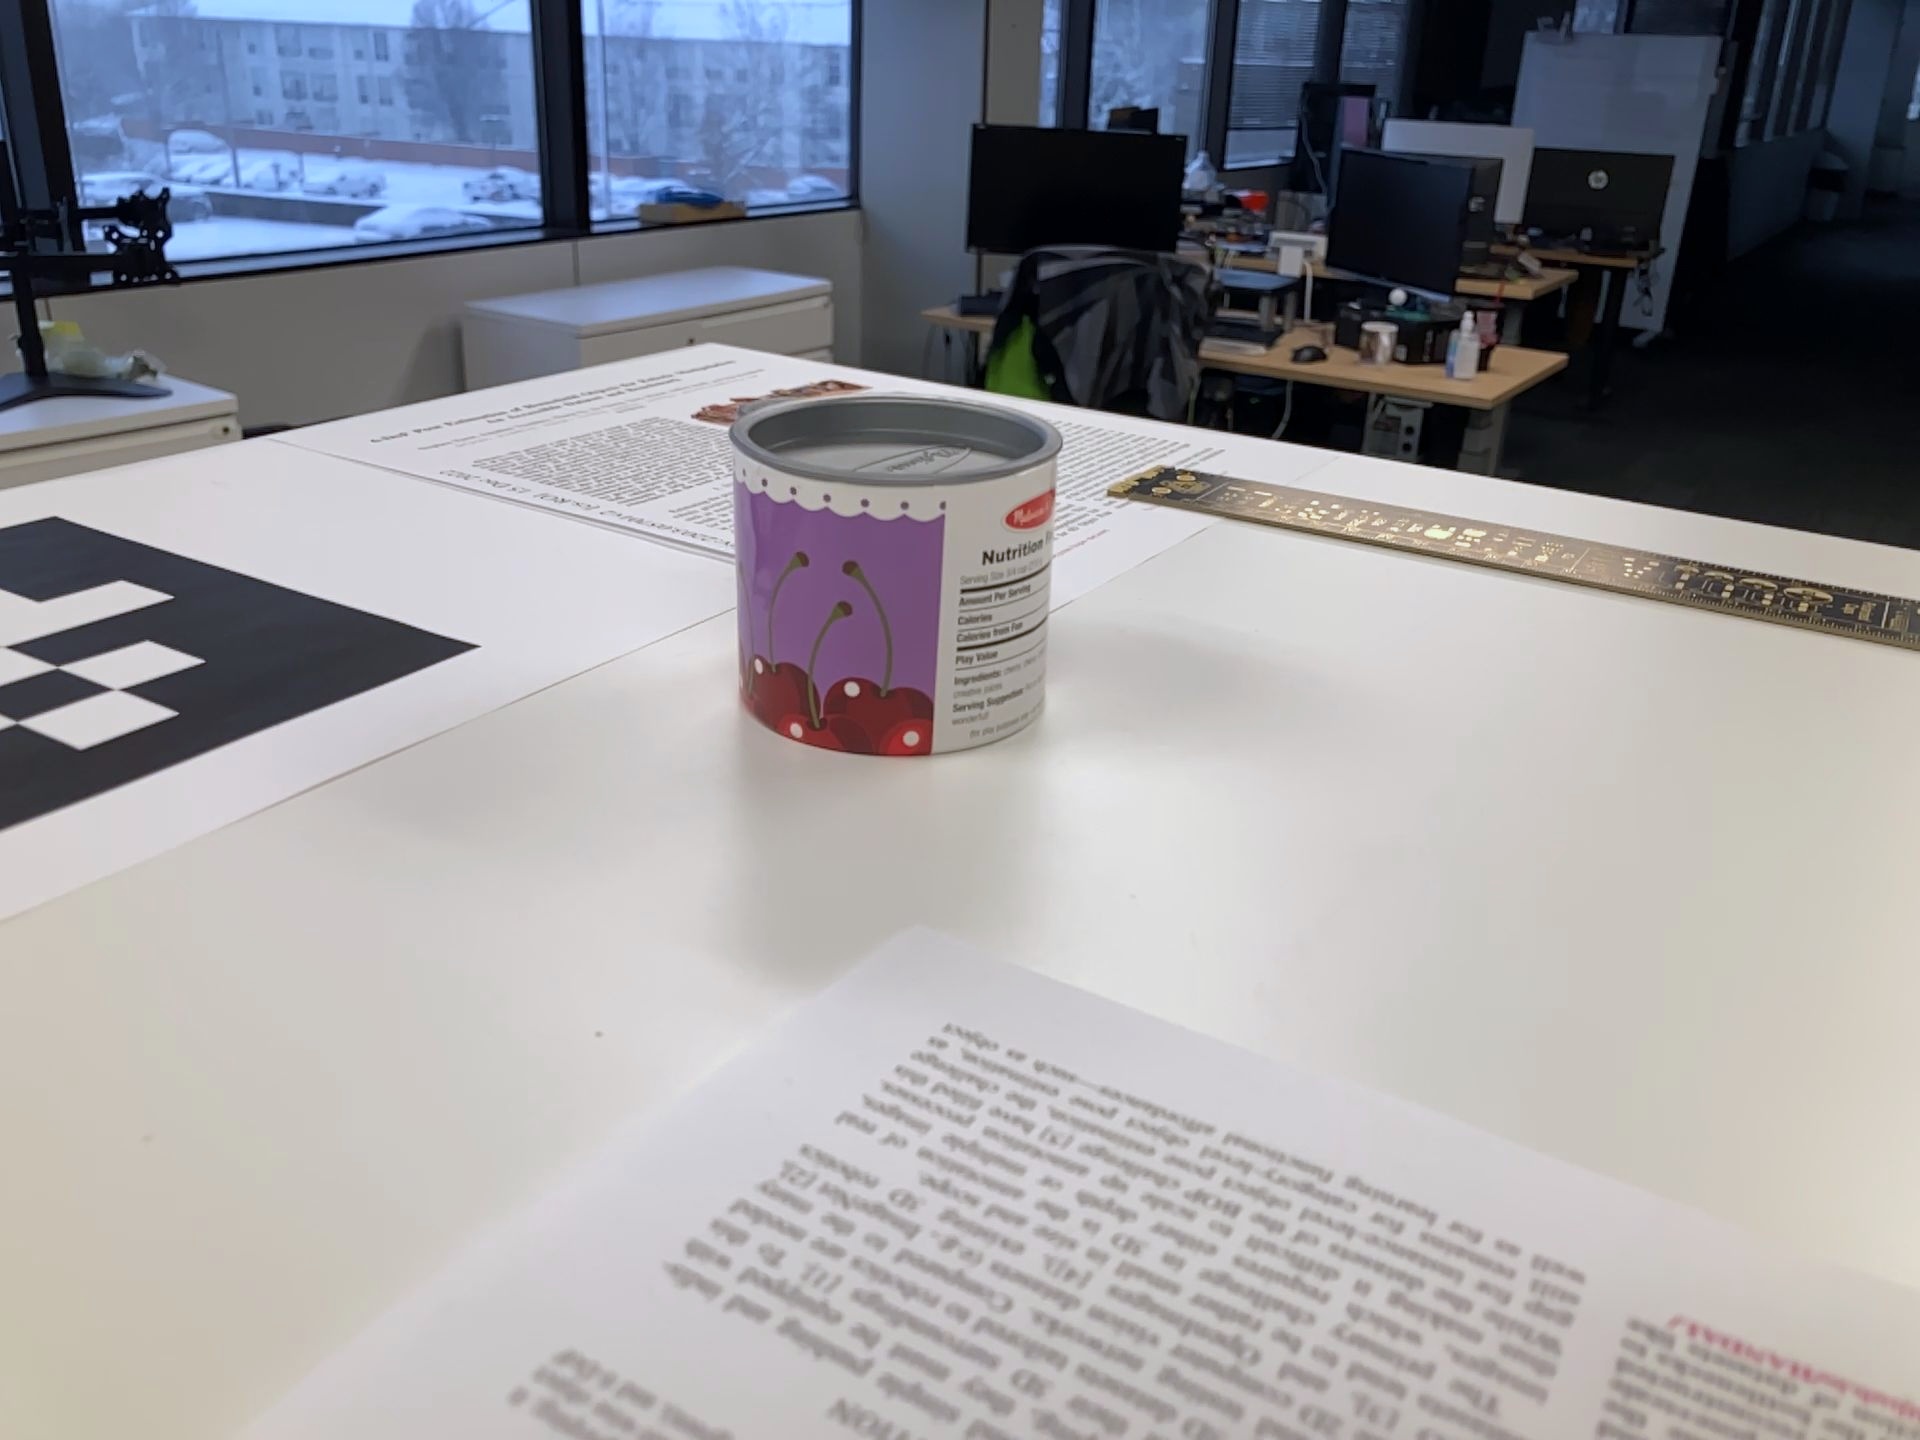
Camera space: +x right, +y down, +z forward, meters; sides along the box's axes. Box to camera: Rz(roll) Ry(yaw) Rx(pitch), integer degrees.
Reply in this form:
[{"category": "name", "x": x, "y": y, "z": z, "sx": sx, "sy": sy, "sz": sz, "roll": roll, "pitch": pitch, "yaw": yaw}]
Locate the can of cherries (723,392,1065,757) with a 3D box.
[{"category": "can of cherries", "x": -0.015, "y": -0.032, "z": 0.326, "sx": 0.071, "sy": 0.058, "sz": 0.071, "roll": 2, "pitch": 24, "yaw": -1}]
